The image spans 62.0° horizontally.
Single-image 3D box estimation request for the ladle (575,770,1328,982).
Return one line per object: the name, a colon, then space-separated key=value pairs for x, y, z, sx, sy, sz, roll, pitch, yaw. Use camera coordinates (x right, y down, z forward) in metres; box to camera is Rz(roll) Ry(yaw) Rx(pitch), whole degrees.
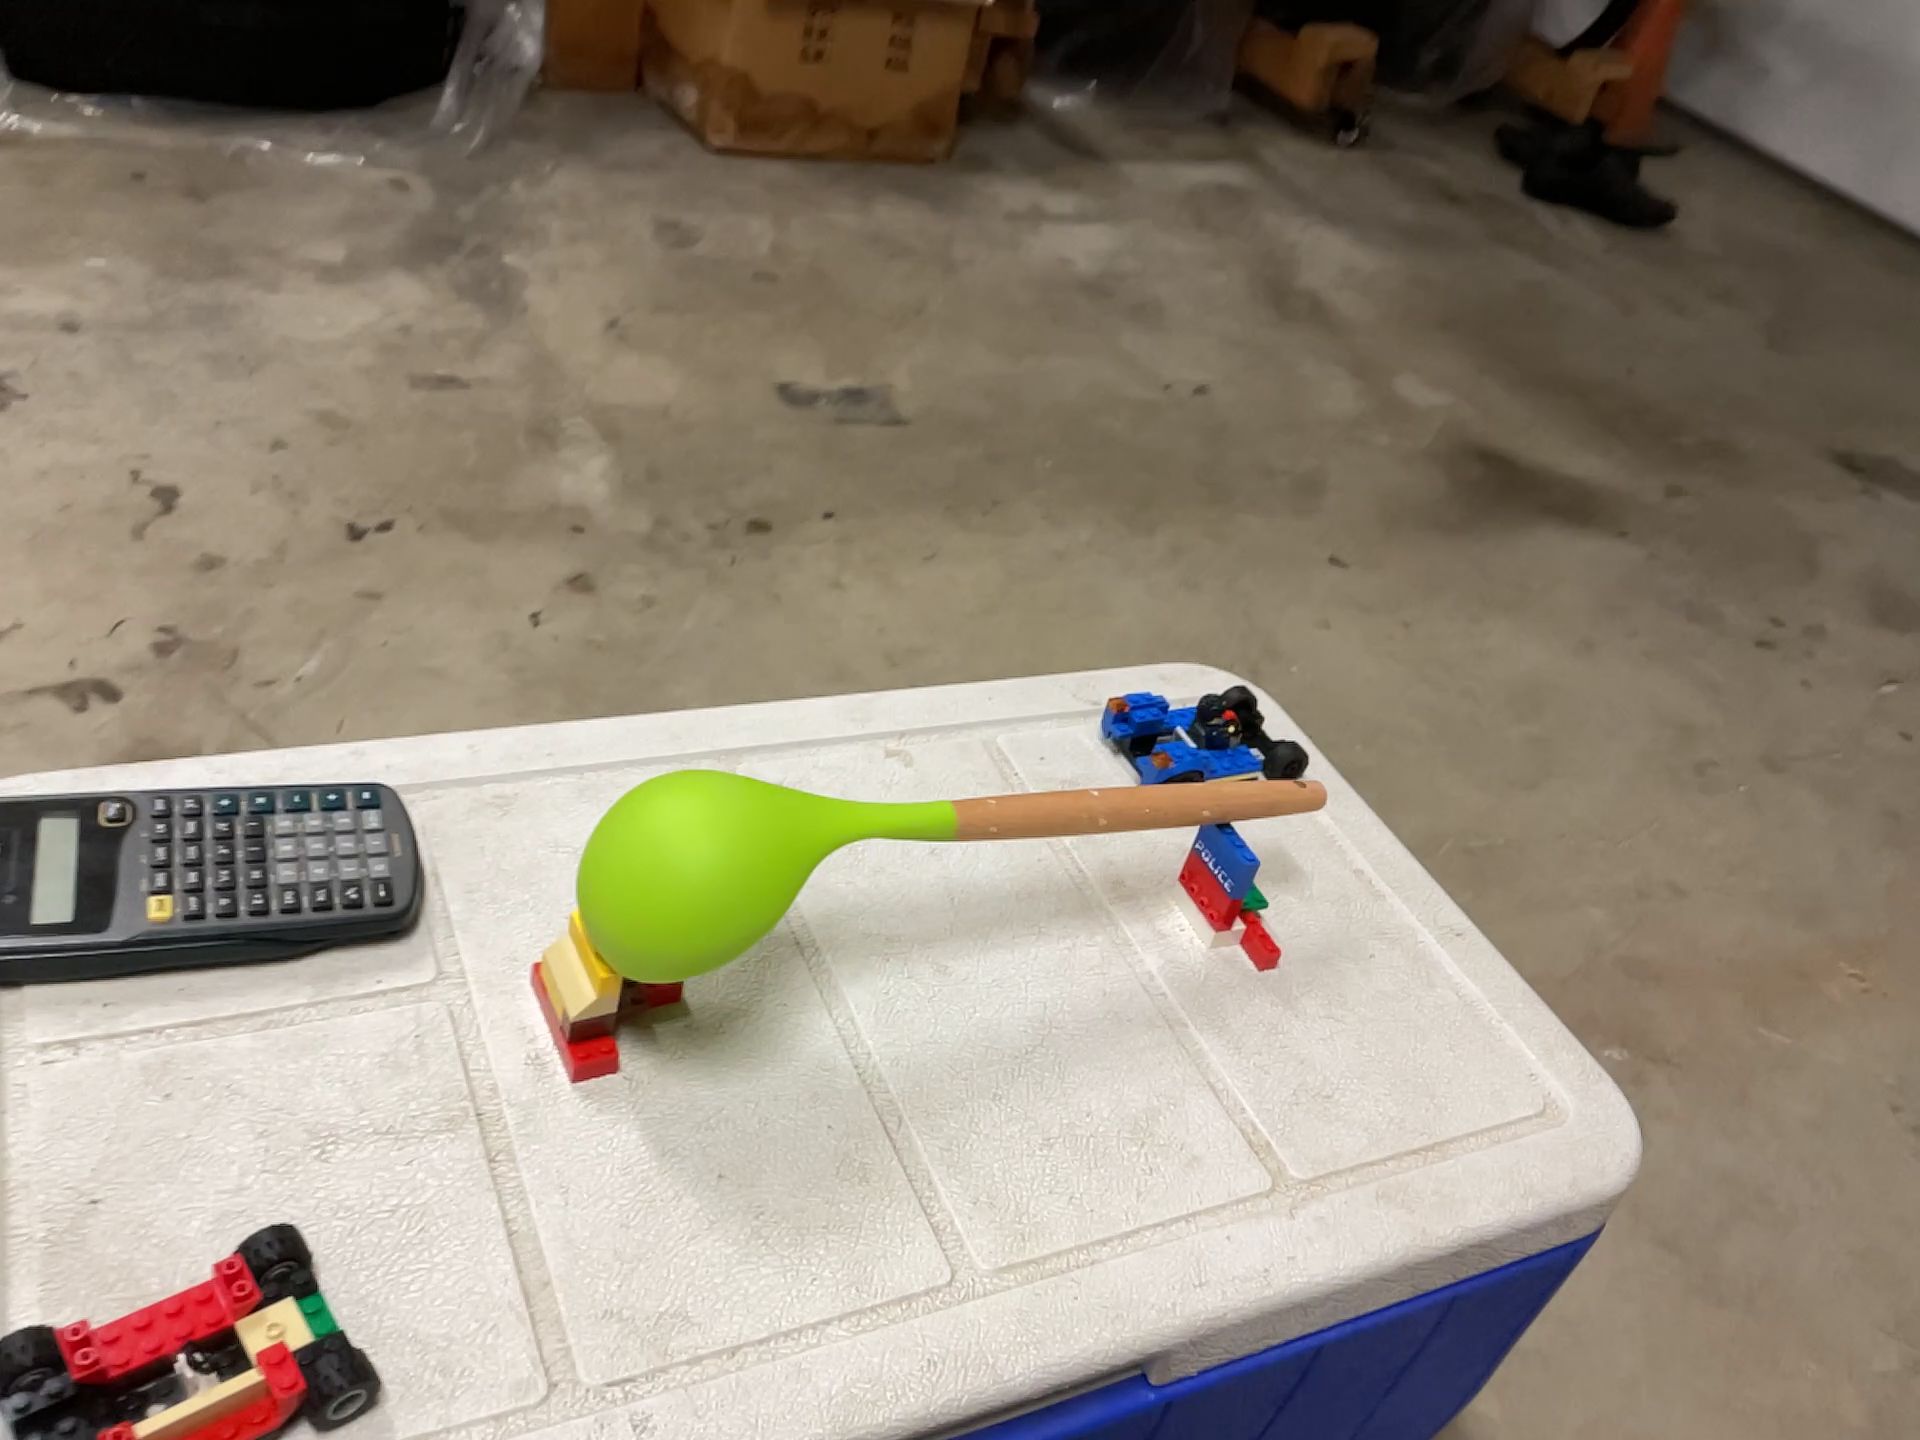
ladle: x=0.014 y=0.047 z=0.601 sx=0.320 sy=0.062 sz=0.078 roll=-1 pitch=33 yaw=-32
